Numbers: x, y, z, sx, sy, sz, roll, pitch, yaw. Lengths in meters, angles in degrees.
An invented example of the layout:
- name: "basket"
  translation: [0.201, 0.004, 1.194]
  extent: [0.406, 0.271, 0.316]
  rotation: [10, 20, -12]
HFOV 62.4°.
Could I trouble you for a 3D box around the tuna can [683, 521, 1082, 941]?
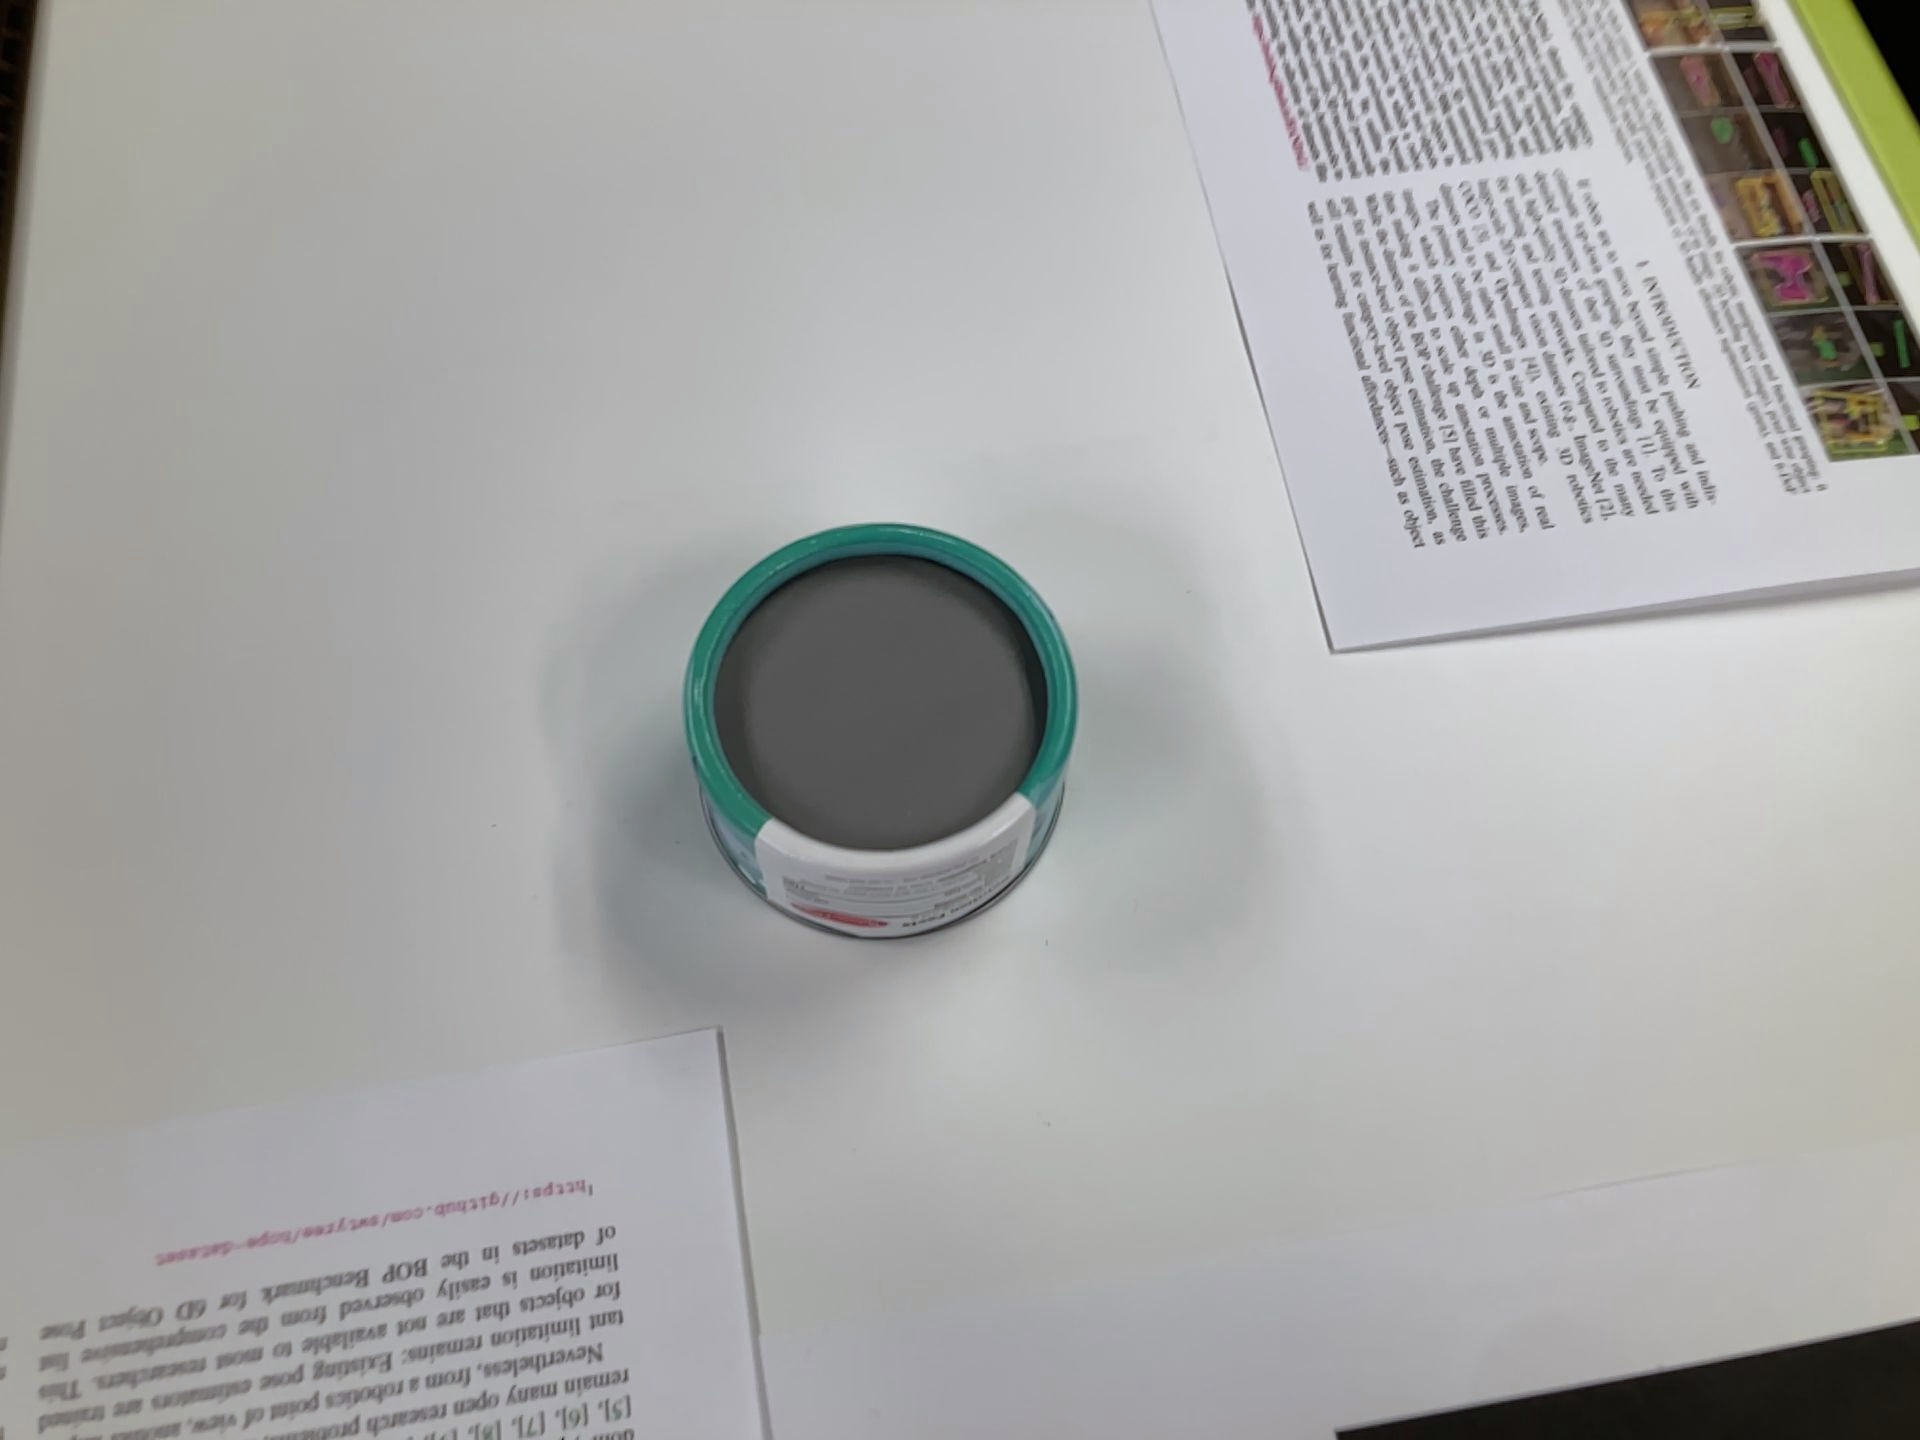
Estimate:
- name: "tuna can"
  translation: [-0.013, -0.001, 0.272]
  extent: [0.071, 0.033, 0.071]
  rotation: [2, 64, -3]
